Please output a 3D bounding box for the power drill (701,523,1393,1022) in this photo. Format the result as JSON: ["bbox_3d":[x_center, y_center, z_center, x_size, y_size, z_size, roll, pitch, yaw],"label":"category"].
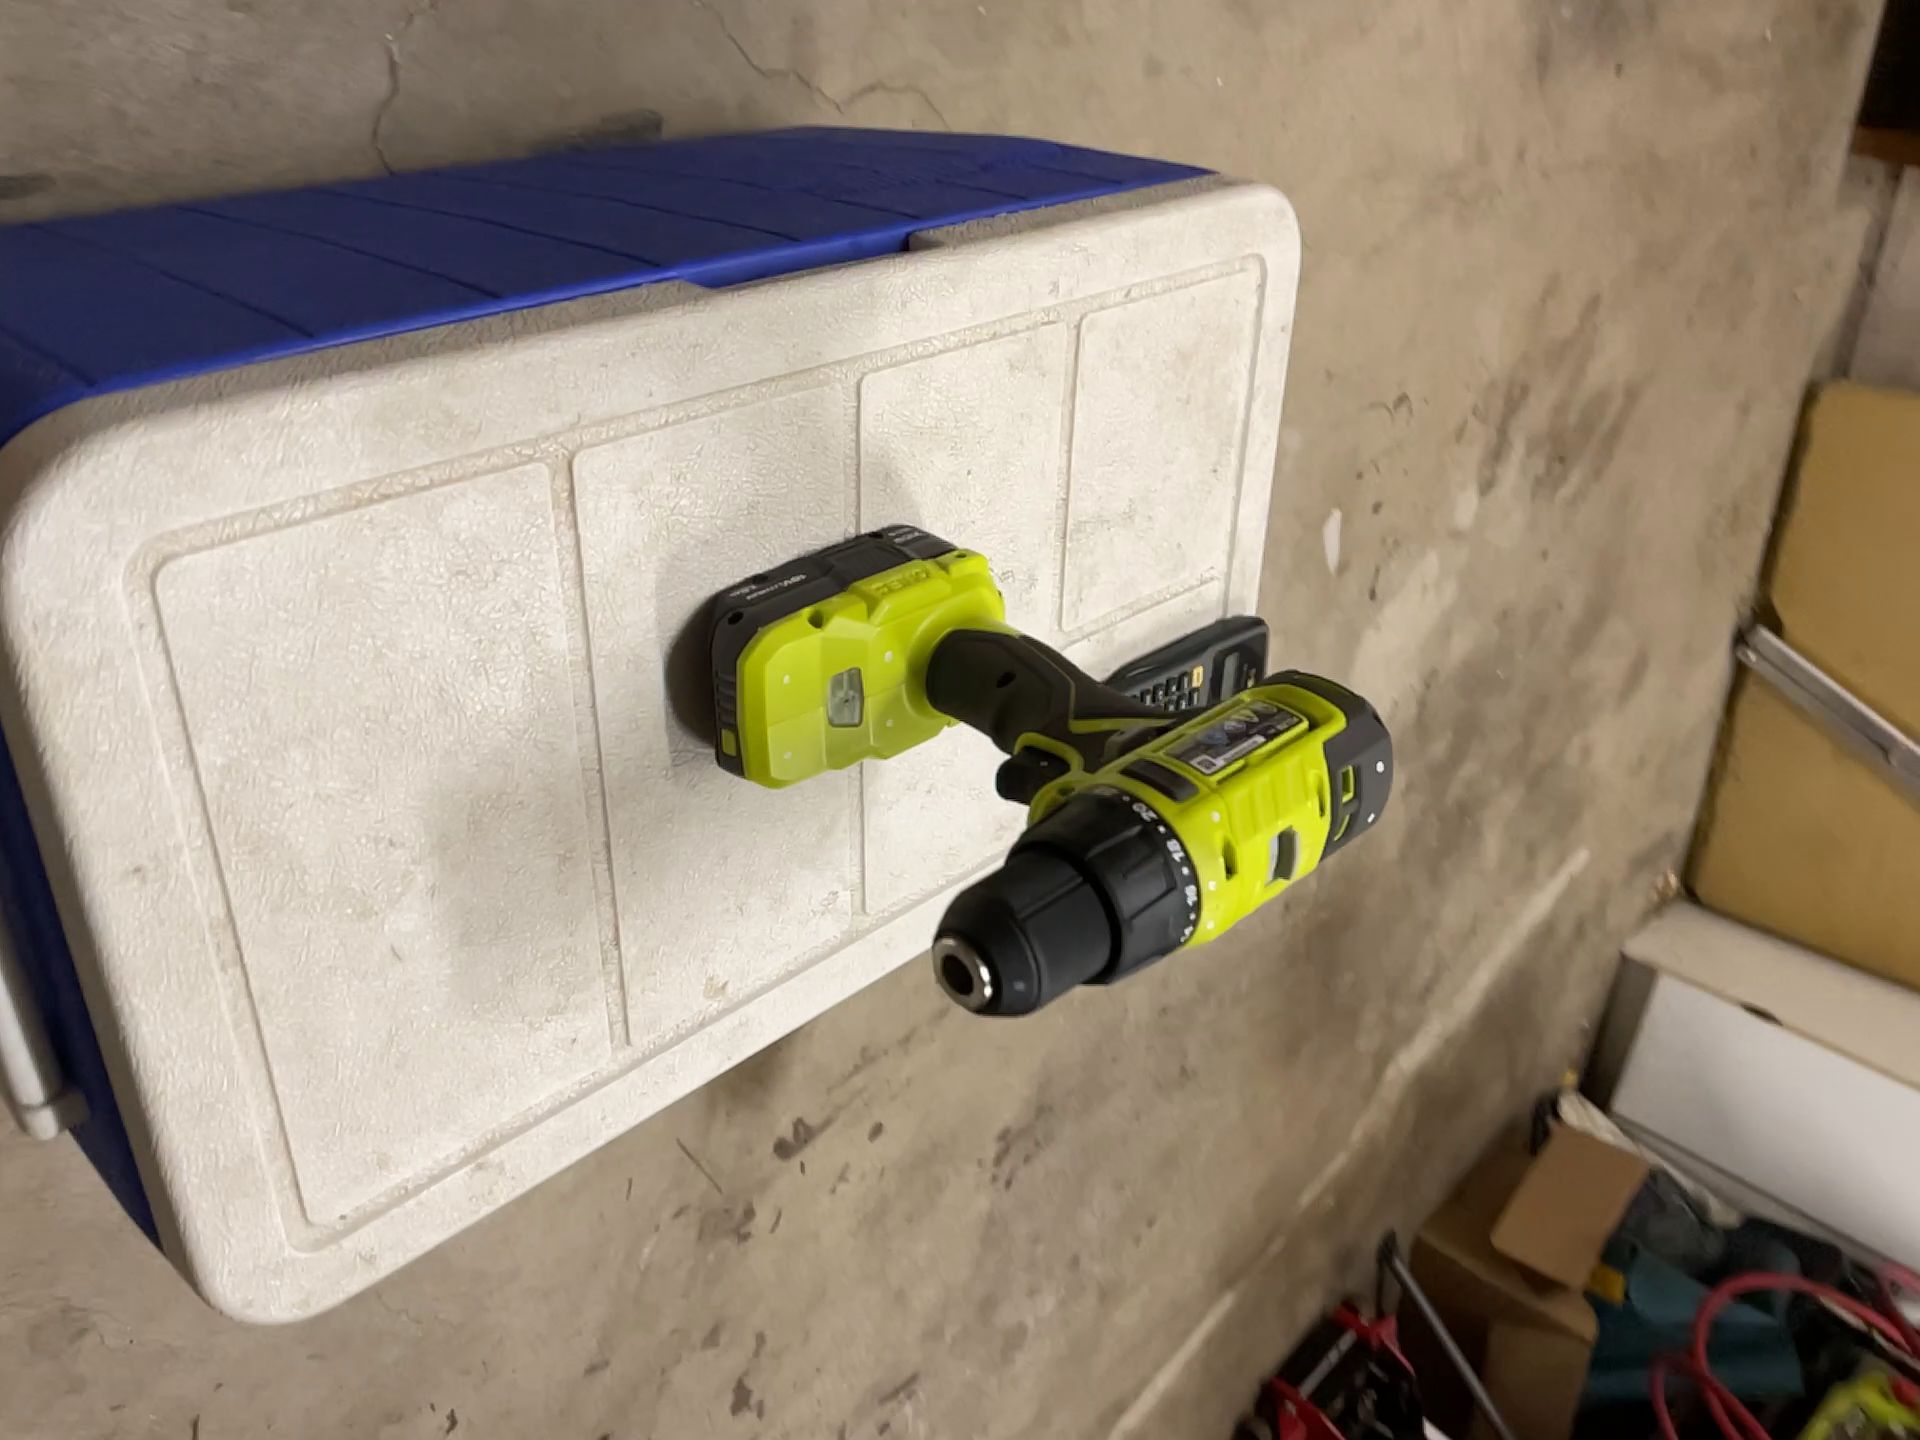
[{"bbox_3d":[0.010,0.013,0.564,0.191,0.228,0.080,-25,129,-37],"label":"power drill"}]
